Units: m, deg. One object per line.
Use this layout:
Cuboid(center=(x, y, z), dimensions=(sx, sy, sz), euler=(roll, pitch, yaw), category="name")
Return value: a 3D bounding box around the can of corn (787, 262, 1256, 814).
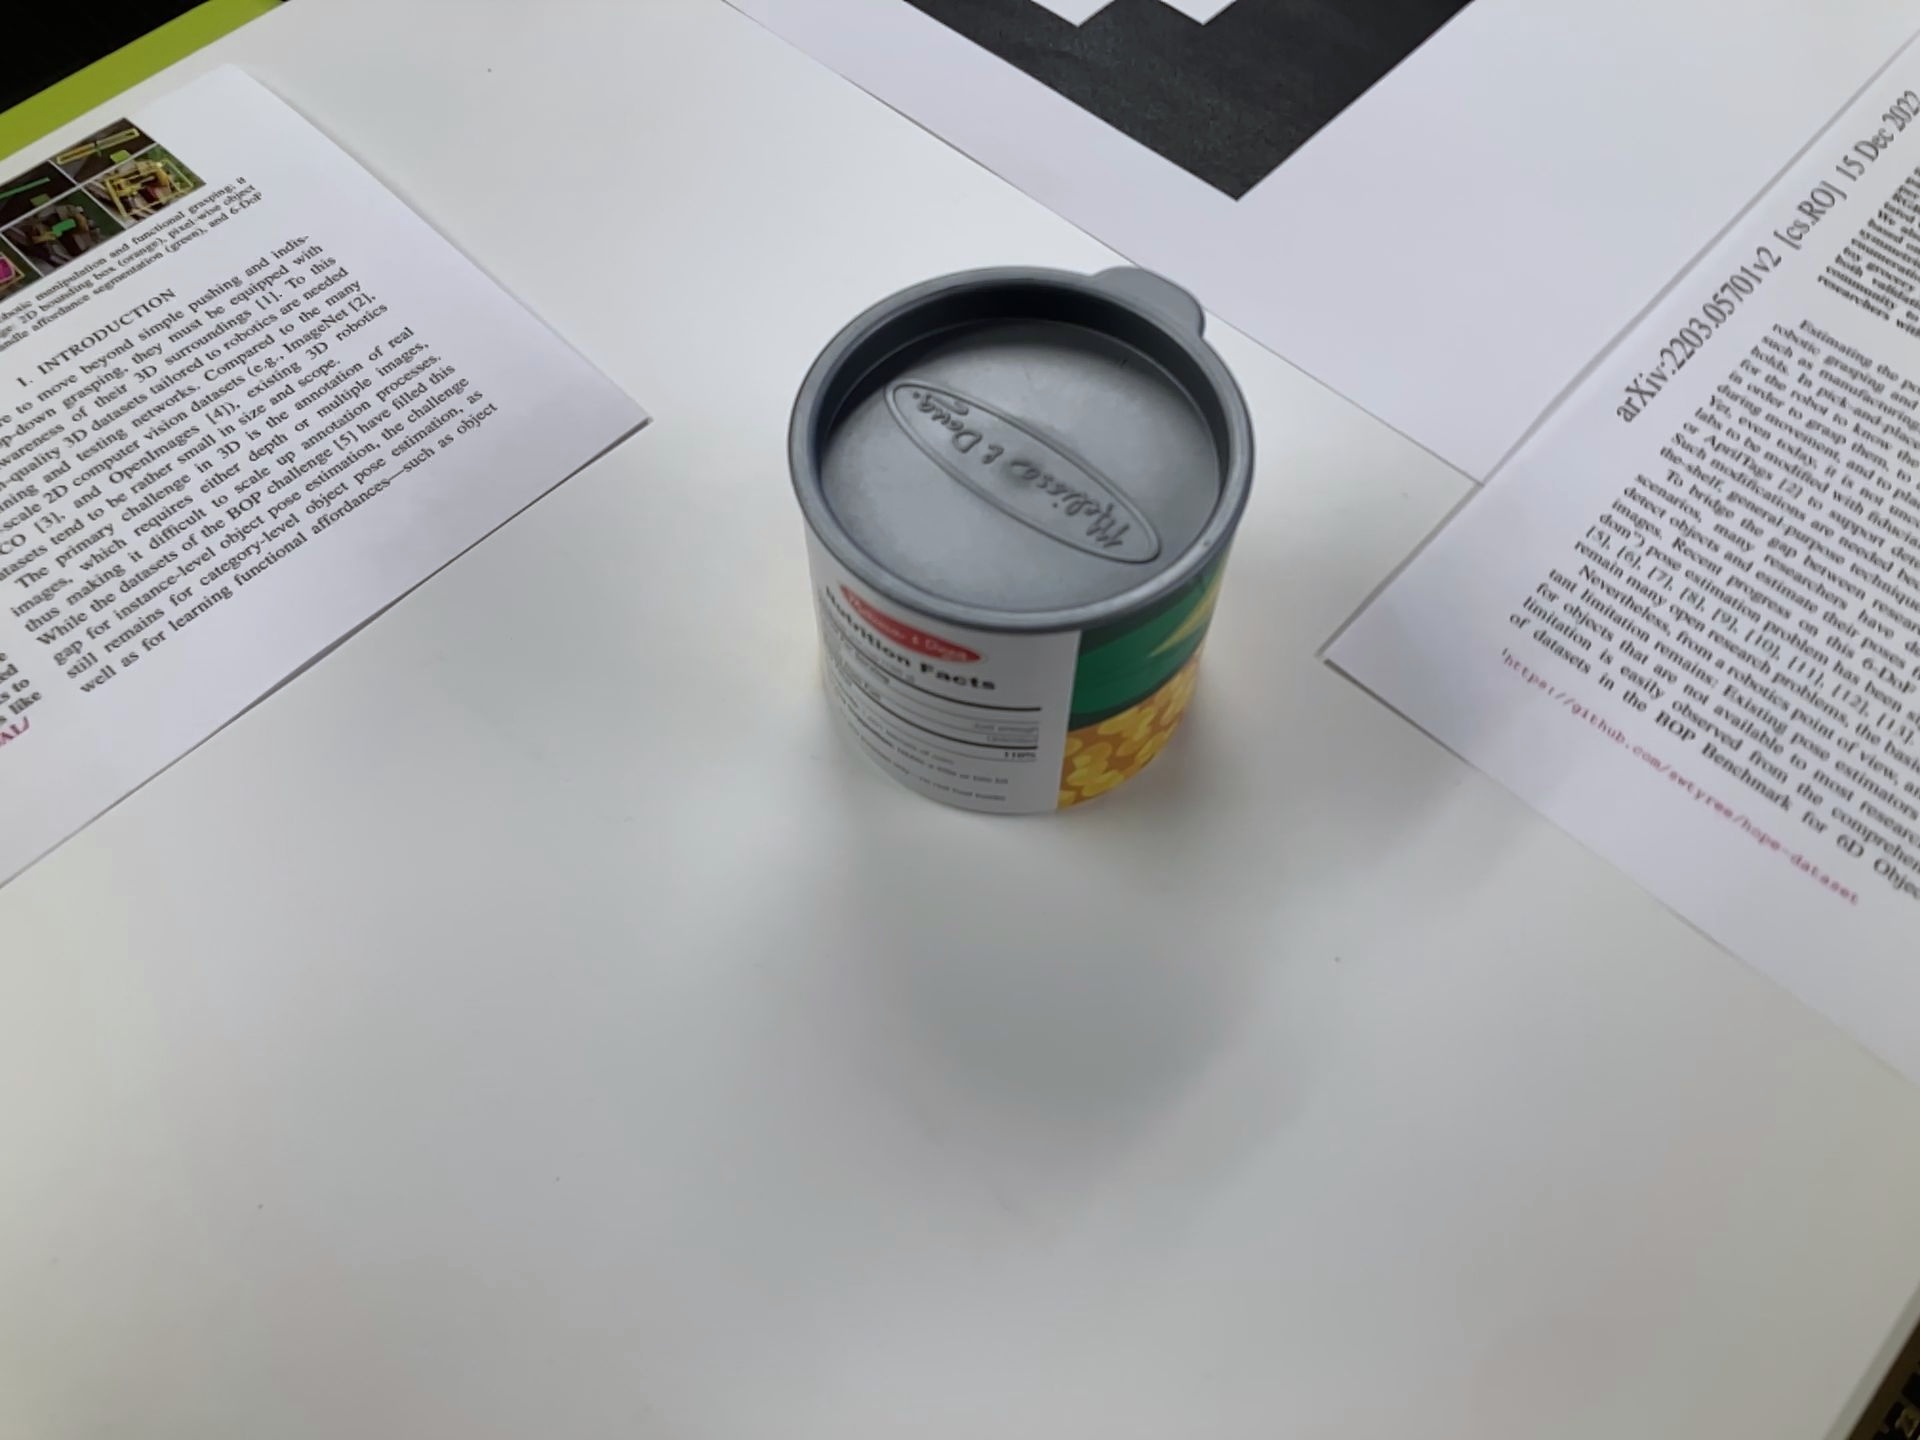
Cuboid(center=(0.010, -0.028, 0.250), dimensions=(0.071, 0.058, 0.071), euler=(0, 60, 0), category="can of corn")
